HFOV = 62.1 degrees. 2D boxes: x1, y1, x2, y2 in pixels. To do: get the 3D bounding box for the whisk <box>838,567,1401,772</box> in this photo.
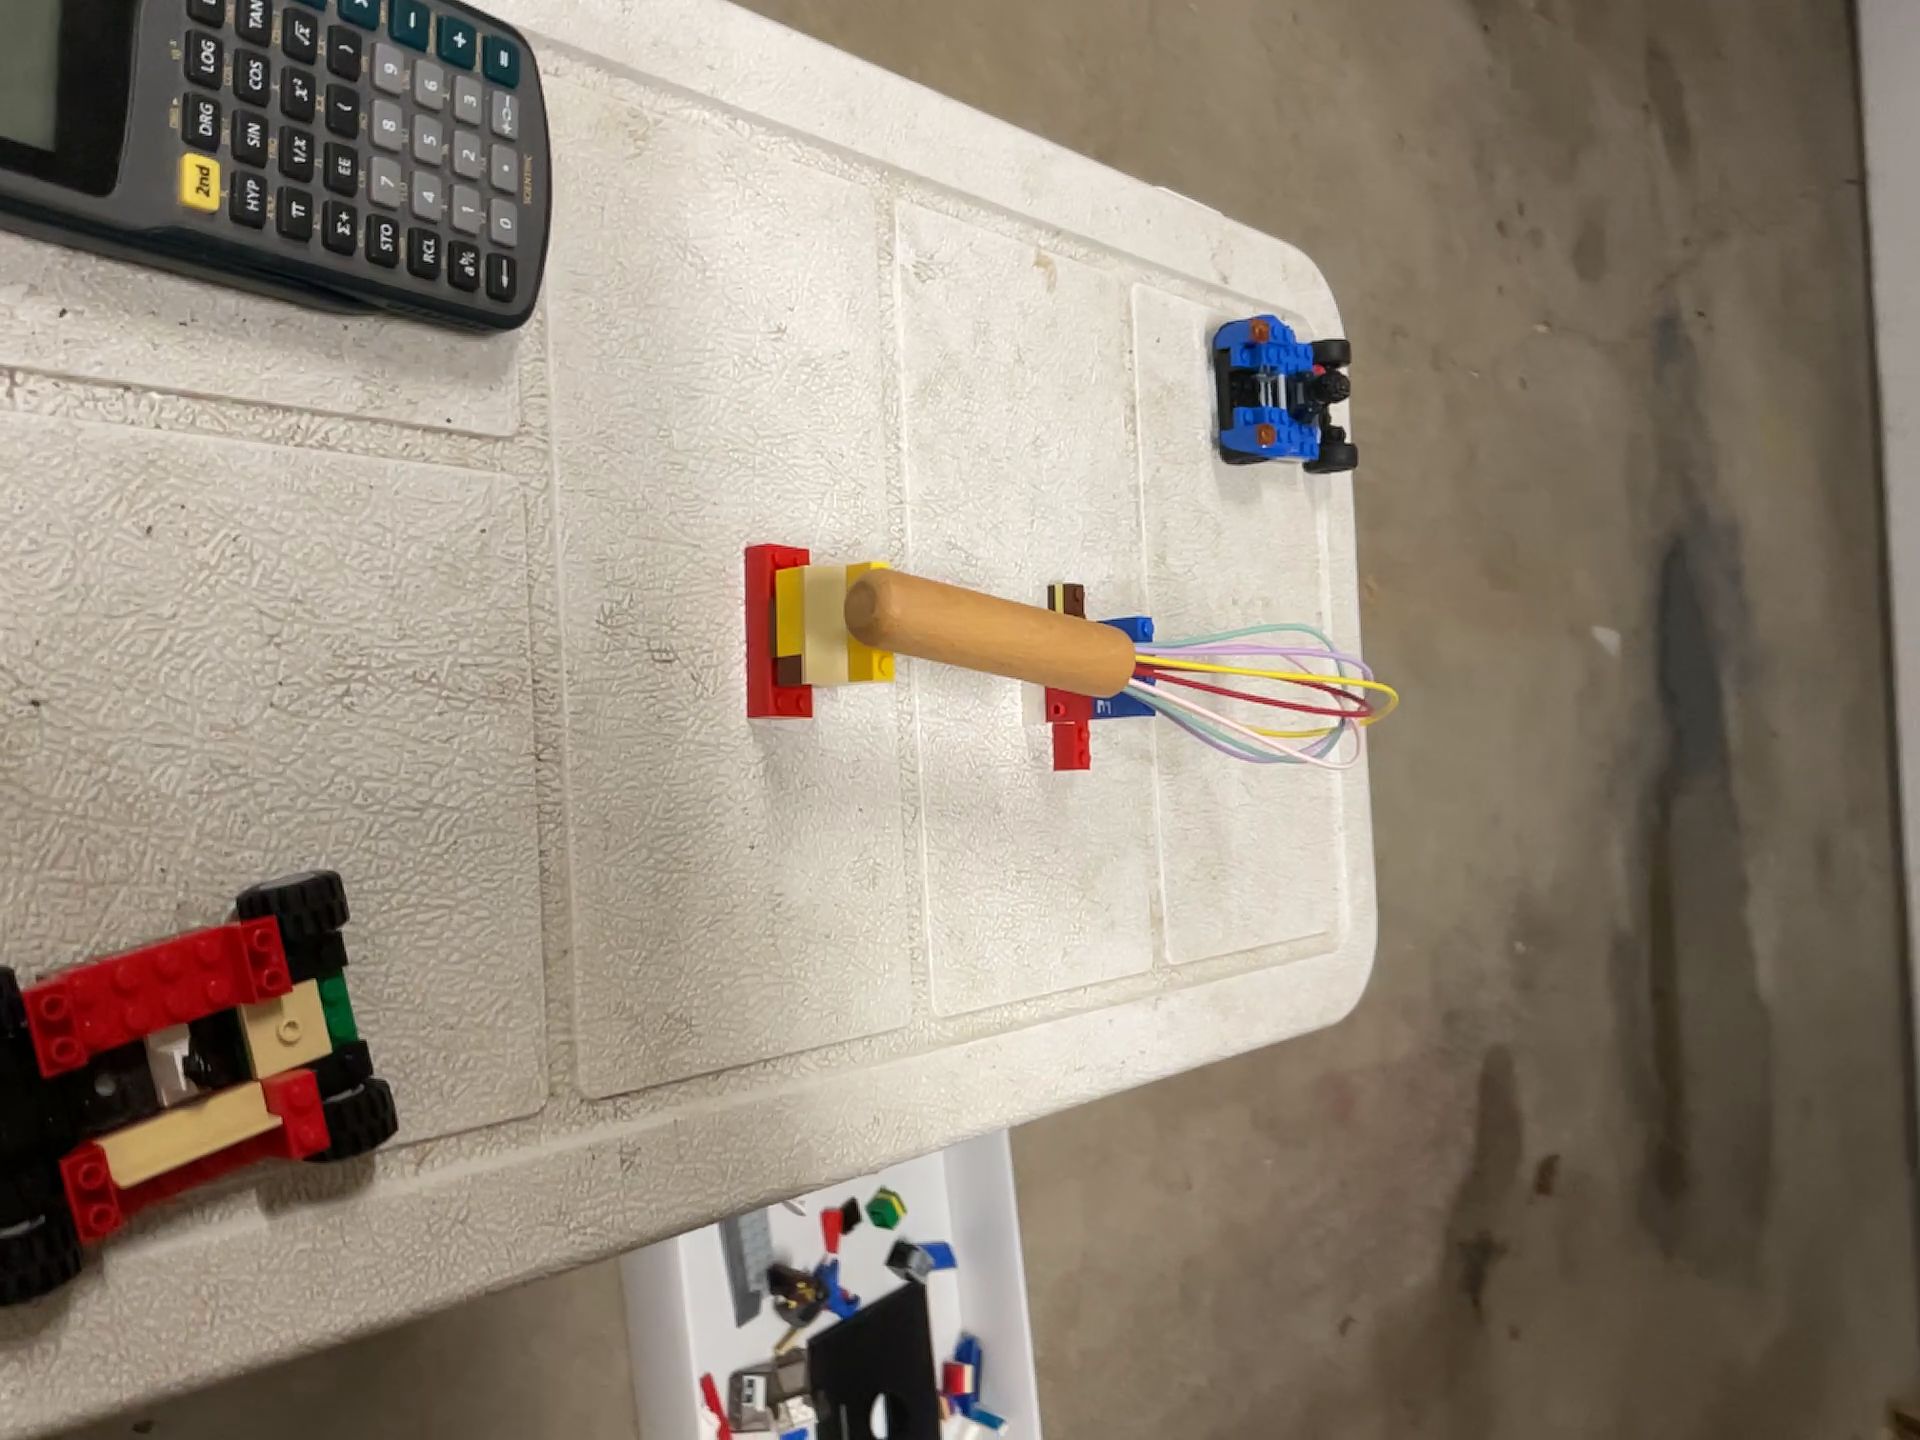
[{"bbox_3d":[0.061,-0.017,0.486,0.245,0.047,0.051,10,92,-45],"label":"whisk"}]
